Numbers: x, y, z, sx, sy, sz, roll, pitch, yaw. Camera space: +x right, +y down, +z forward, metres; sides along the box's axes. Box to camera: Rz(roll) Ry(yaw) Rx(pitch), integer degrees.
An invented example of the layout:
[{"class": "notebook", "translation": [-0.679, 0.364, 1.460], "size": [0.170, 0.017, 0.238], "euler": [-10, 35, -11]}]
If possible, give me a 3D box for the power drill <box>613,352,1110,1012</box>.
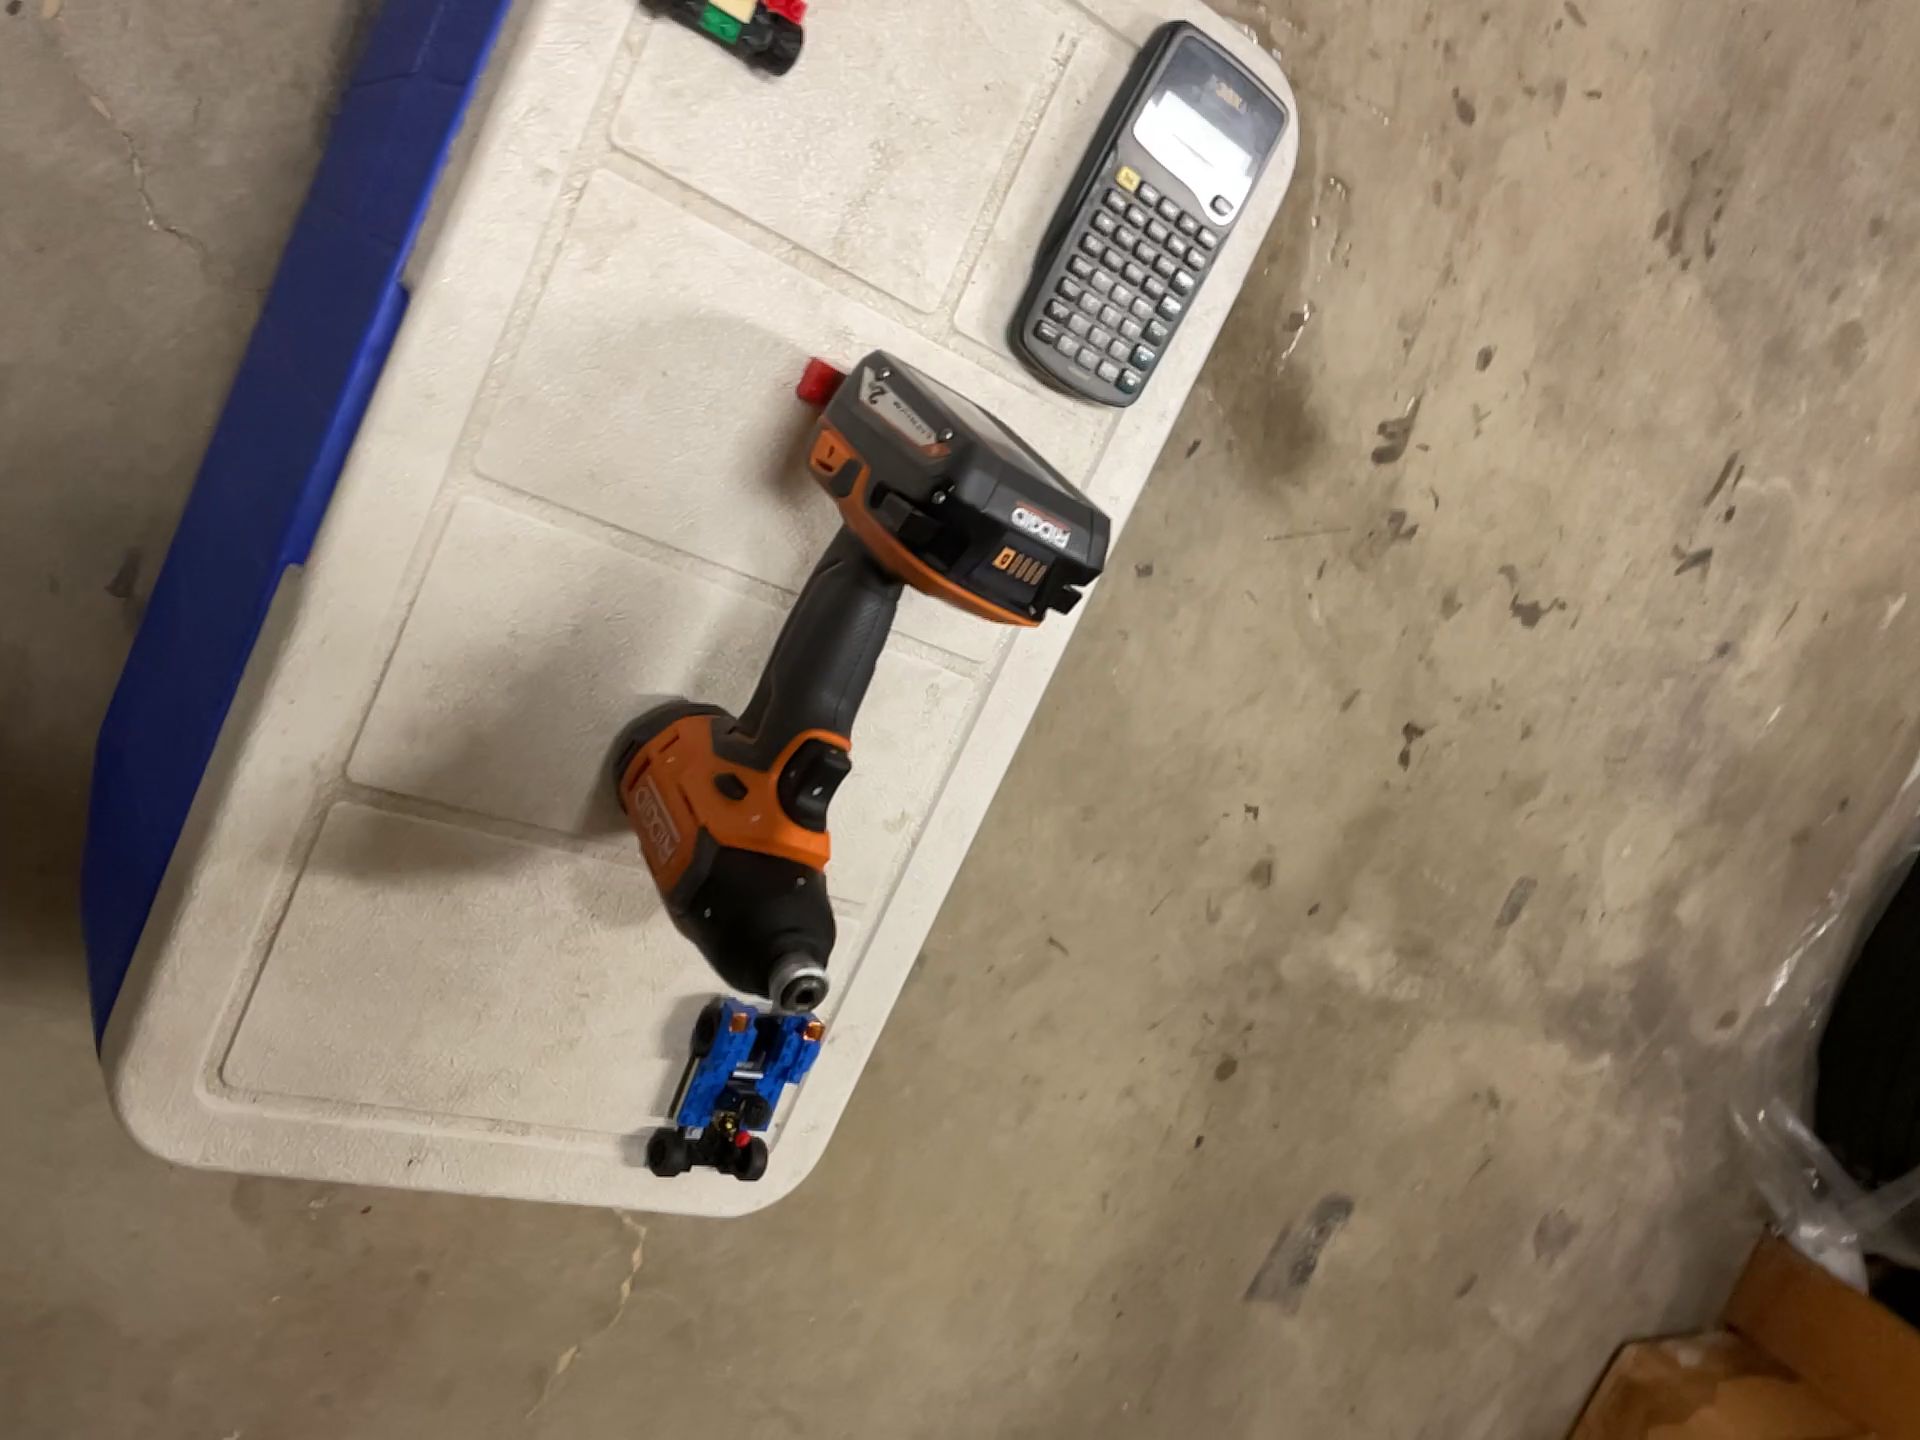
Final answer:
[{"class": "power drill", "translation": [-0.044, -0.009, 0.608], "size": [0.084, 0.164, 0.226], "euler": [23, 109, -37]}]
